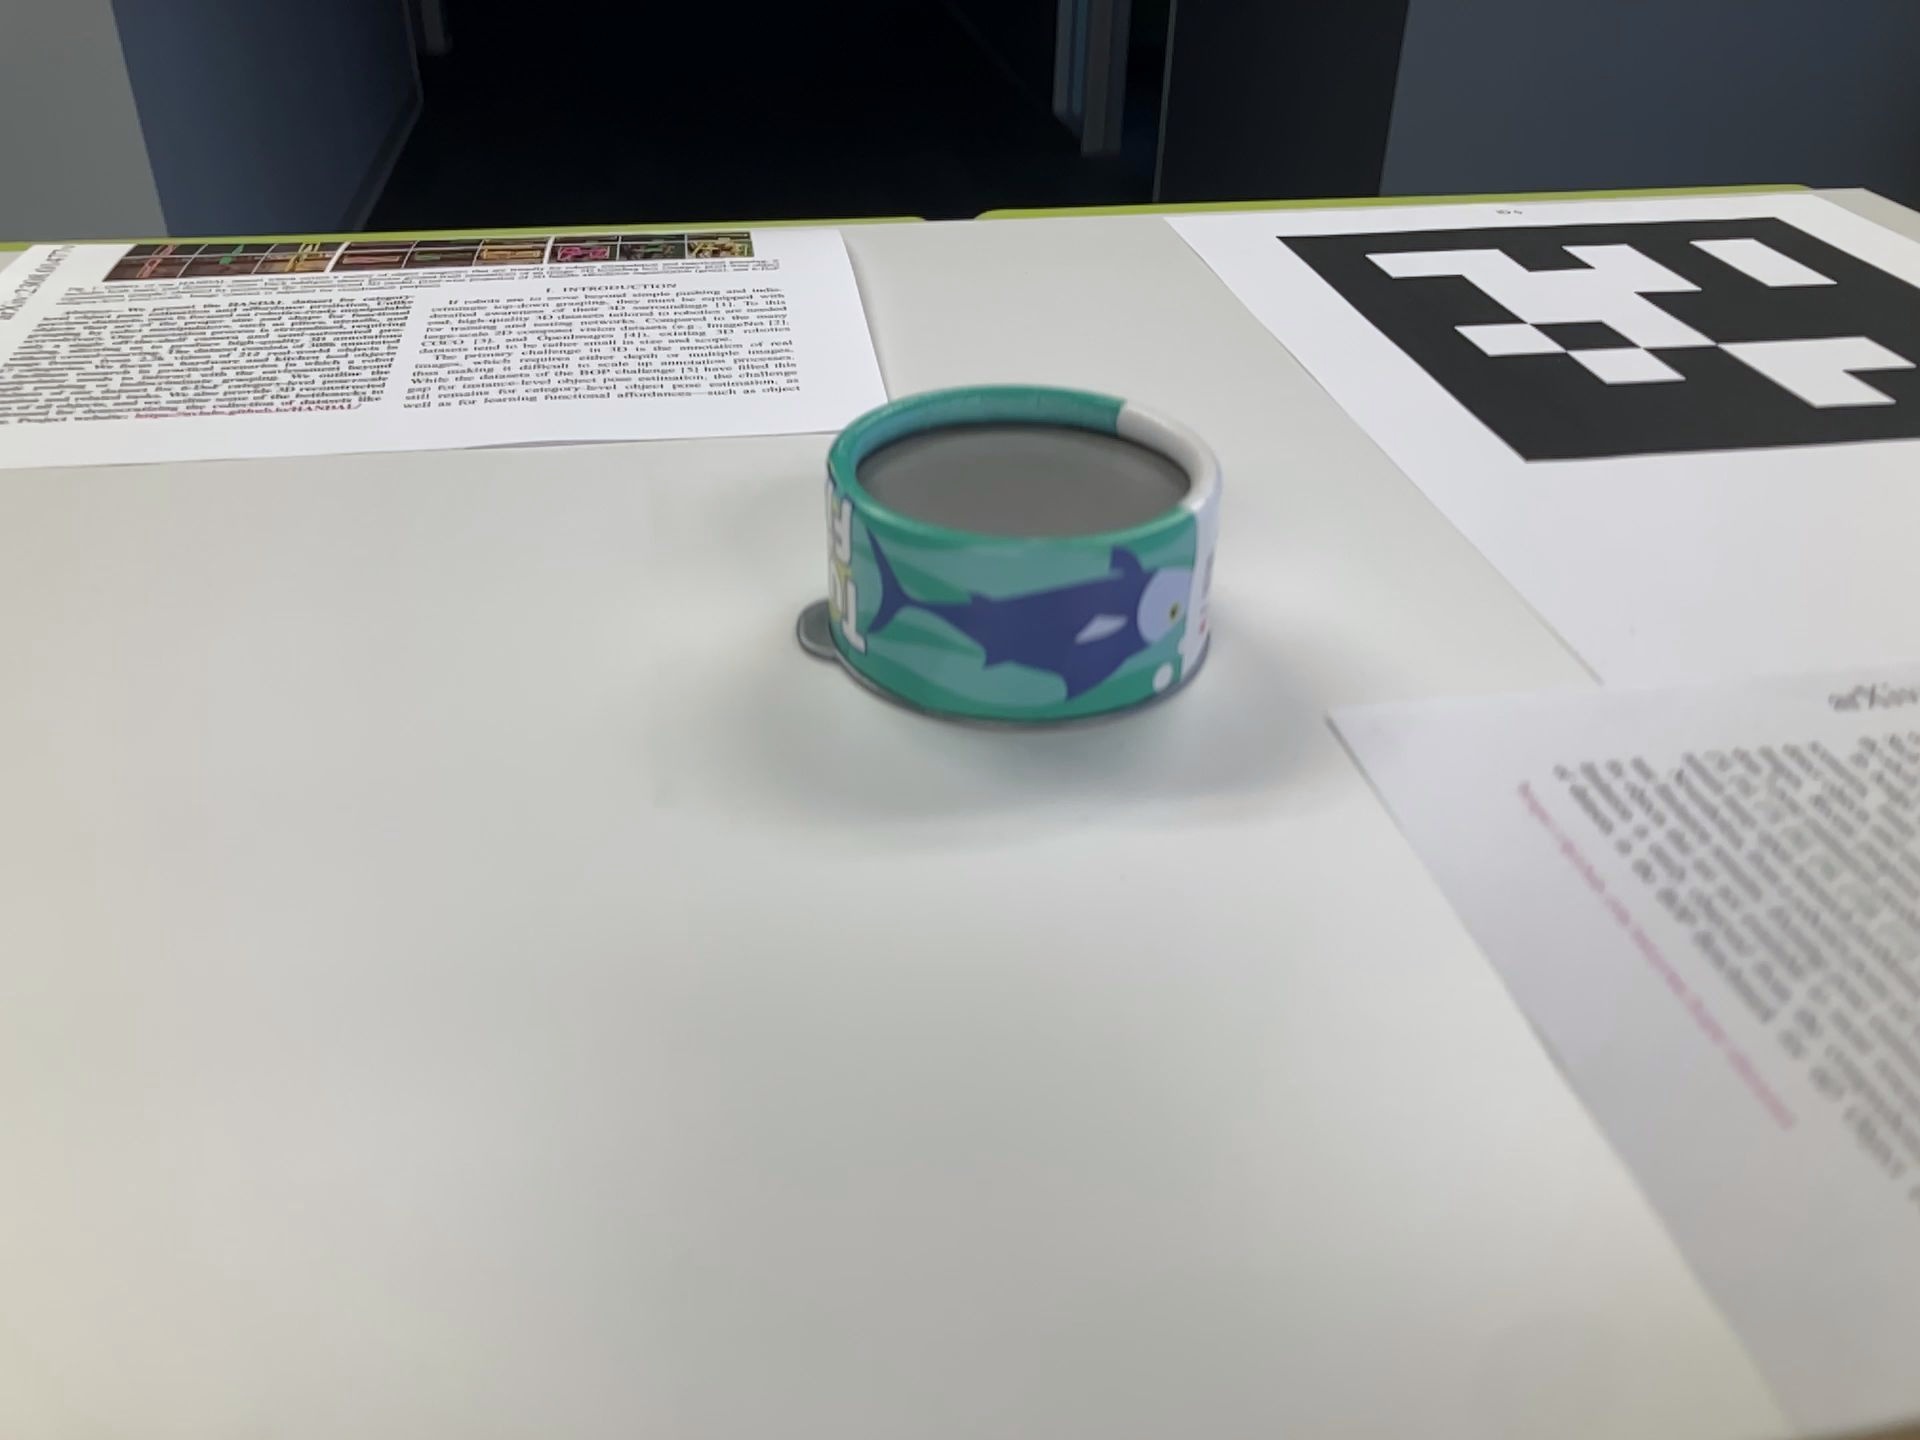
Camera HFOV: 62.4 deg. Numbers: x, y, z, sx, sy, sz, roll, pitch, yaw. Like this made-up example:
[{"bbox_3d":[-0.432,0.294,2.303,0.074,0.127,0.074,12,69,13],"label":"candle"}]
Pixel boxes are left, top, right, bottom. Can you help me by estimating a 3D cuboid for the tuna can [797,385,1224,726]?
[{"bbox_3d":[0.008,-0.030,0.265,0.071,0.033,0.071,0,32,0],"label":"tuna can"}]
